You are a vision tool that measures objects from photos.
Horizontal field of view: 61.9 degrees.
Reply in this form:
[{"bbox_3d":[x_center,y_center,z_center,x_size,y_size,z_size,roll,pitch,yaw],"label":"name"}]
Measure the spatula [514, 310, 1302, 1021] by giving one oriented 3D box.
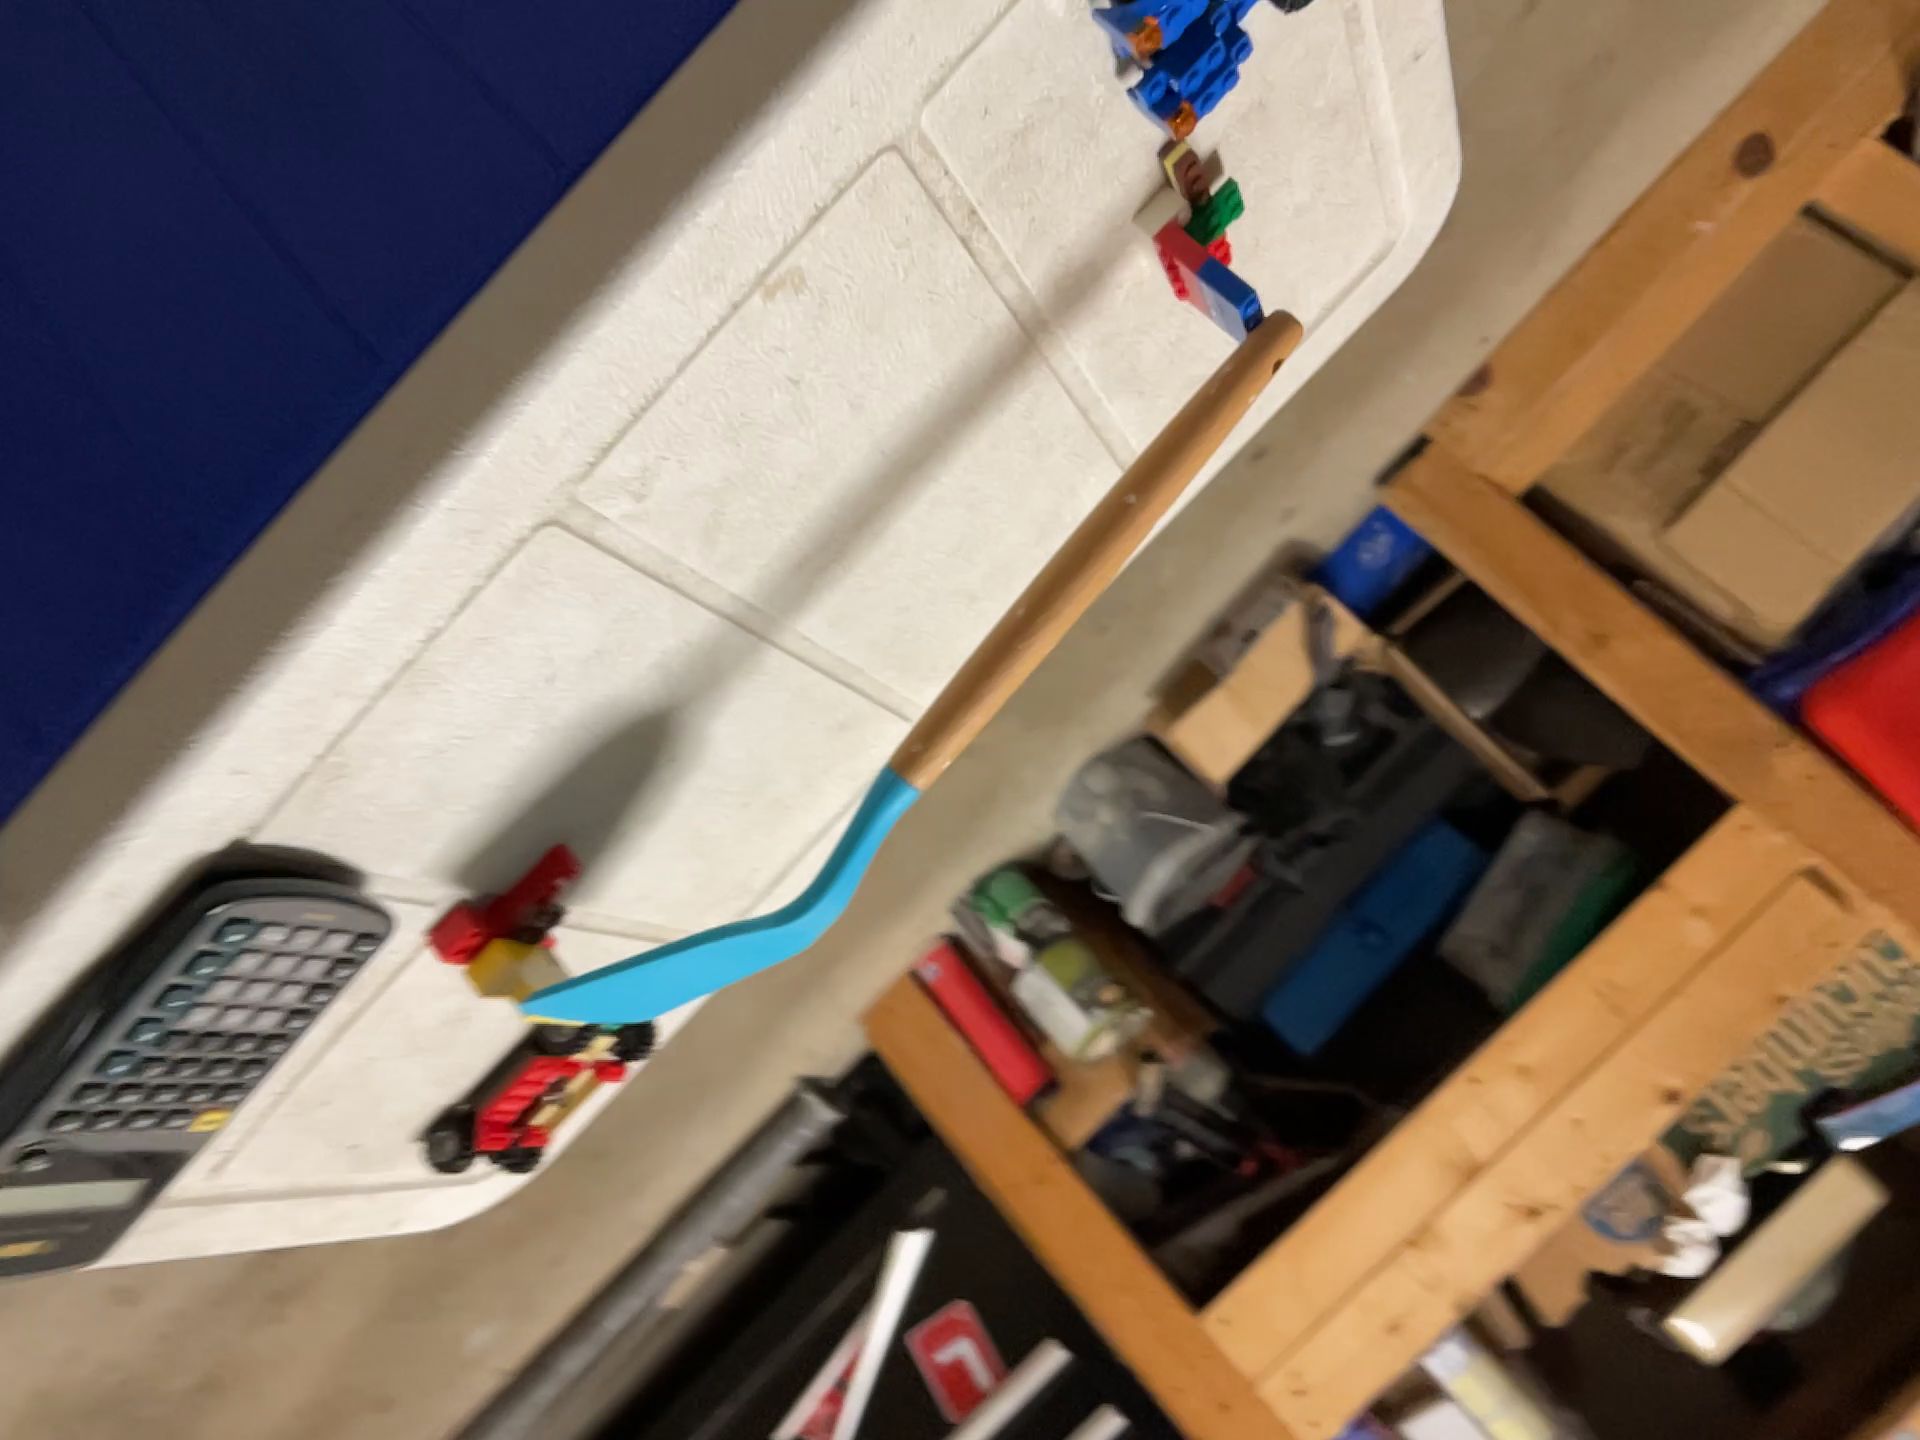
[{"bbox_3d":[-0.009,-0.009,0.505,0.317,0.044,0.082,-49,156,4],"label":"spatula"}]
